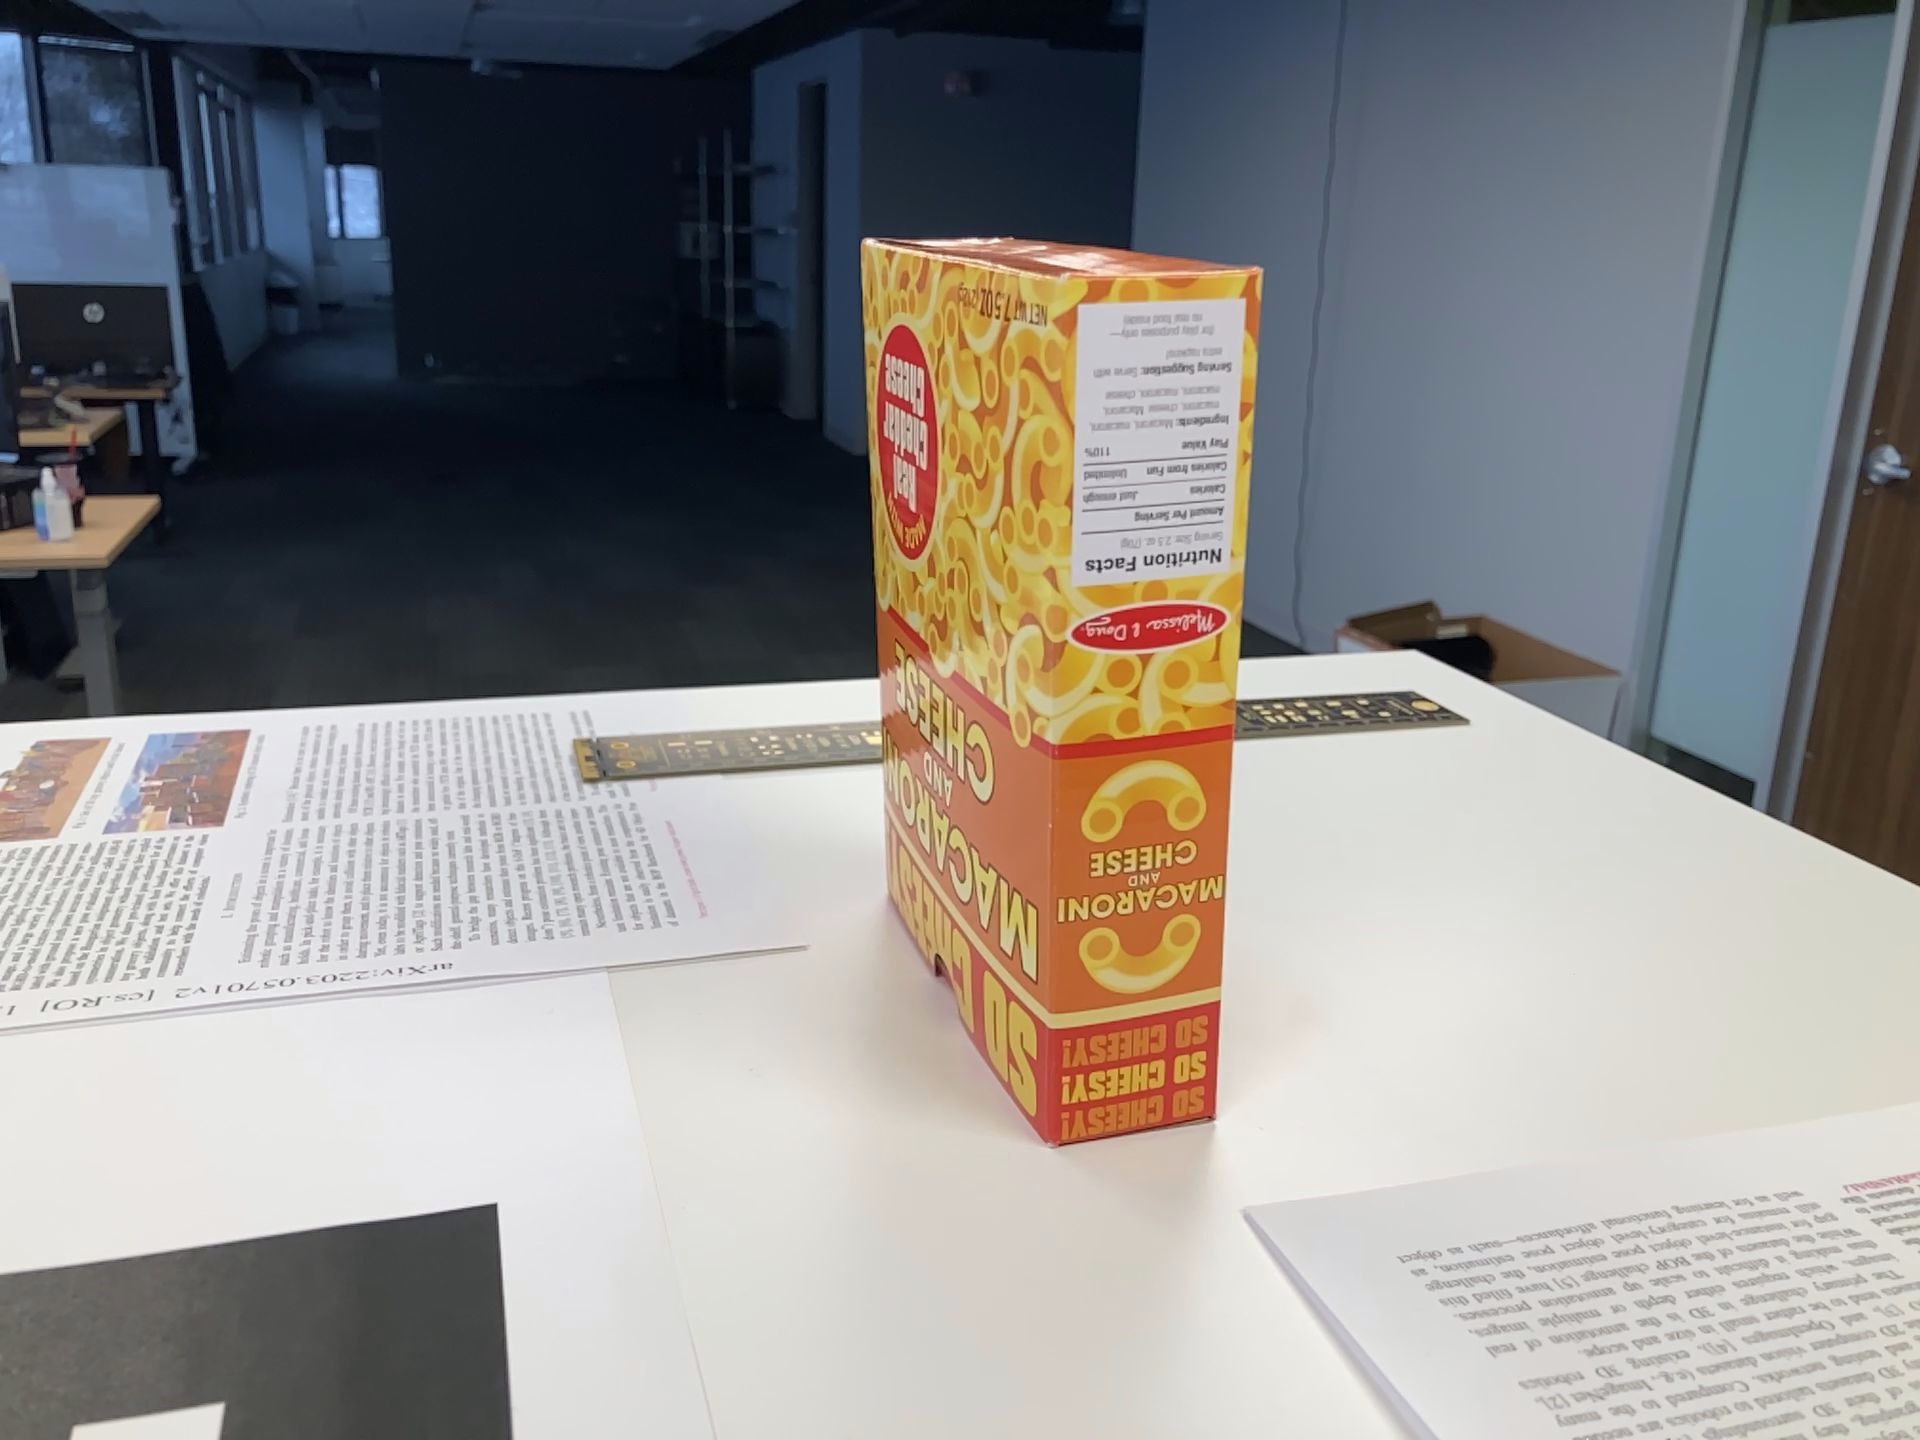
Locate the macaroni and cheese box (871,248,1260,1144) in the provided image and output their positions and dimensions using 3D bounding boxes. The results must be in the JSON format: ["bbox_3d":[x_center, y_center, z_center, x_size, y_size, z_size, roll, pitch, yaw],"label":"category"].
[{"bbox_3d":[0.015,-0.014,0.346,0.040,0.166,0.124,-6,20,-17],"label":"macaroni and cheese box"}]
